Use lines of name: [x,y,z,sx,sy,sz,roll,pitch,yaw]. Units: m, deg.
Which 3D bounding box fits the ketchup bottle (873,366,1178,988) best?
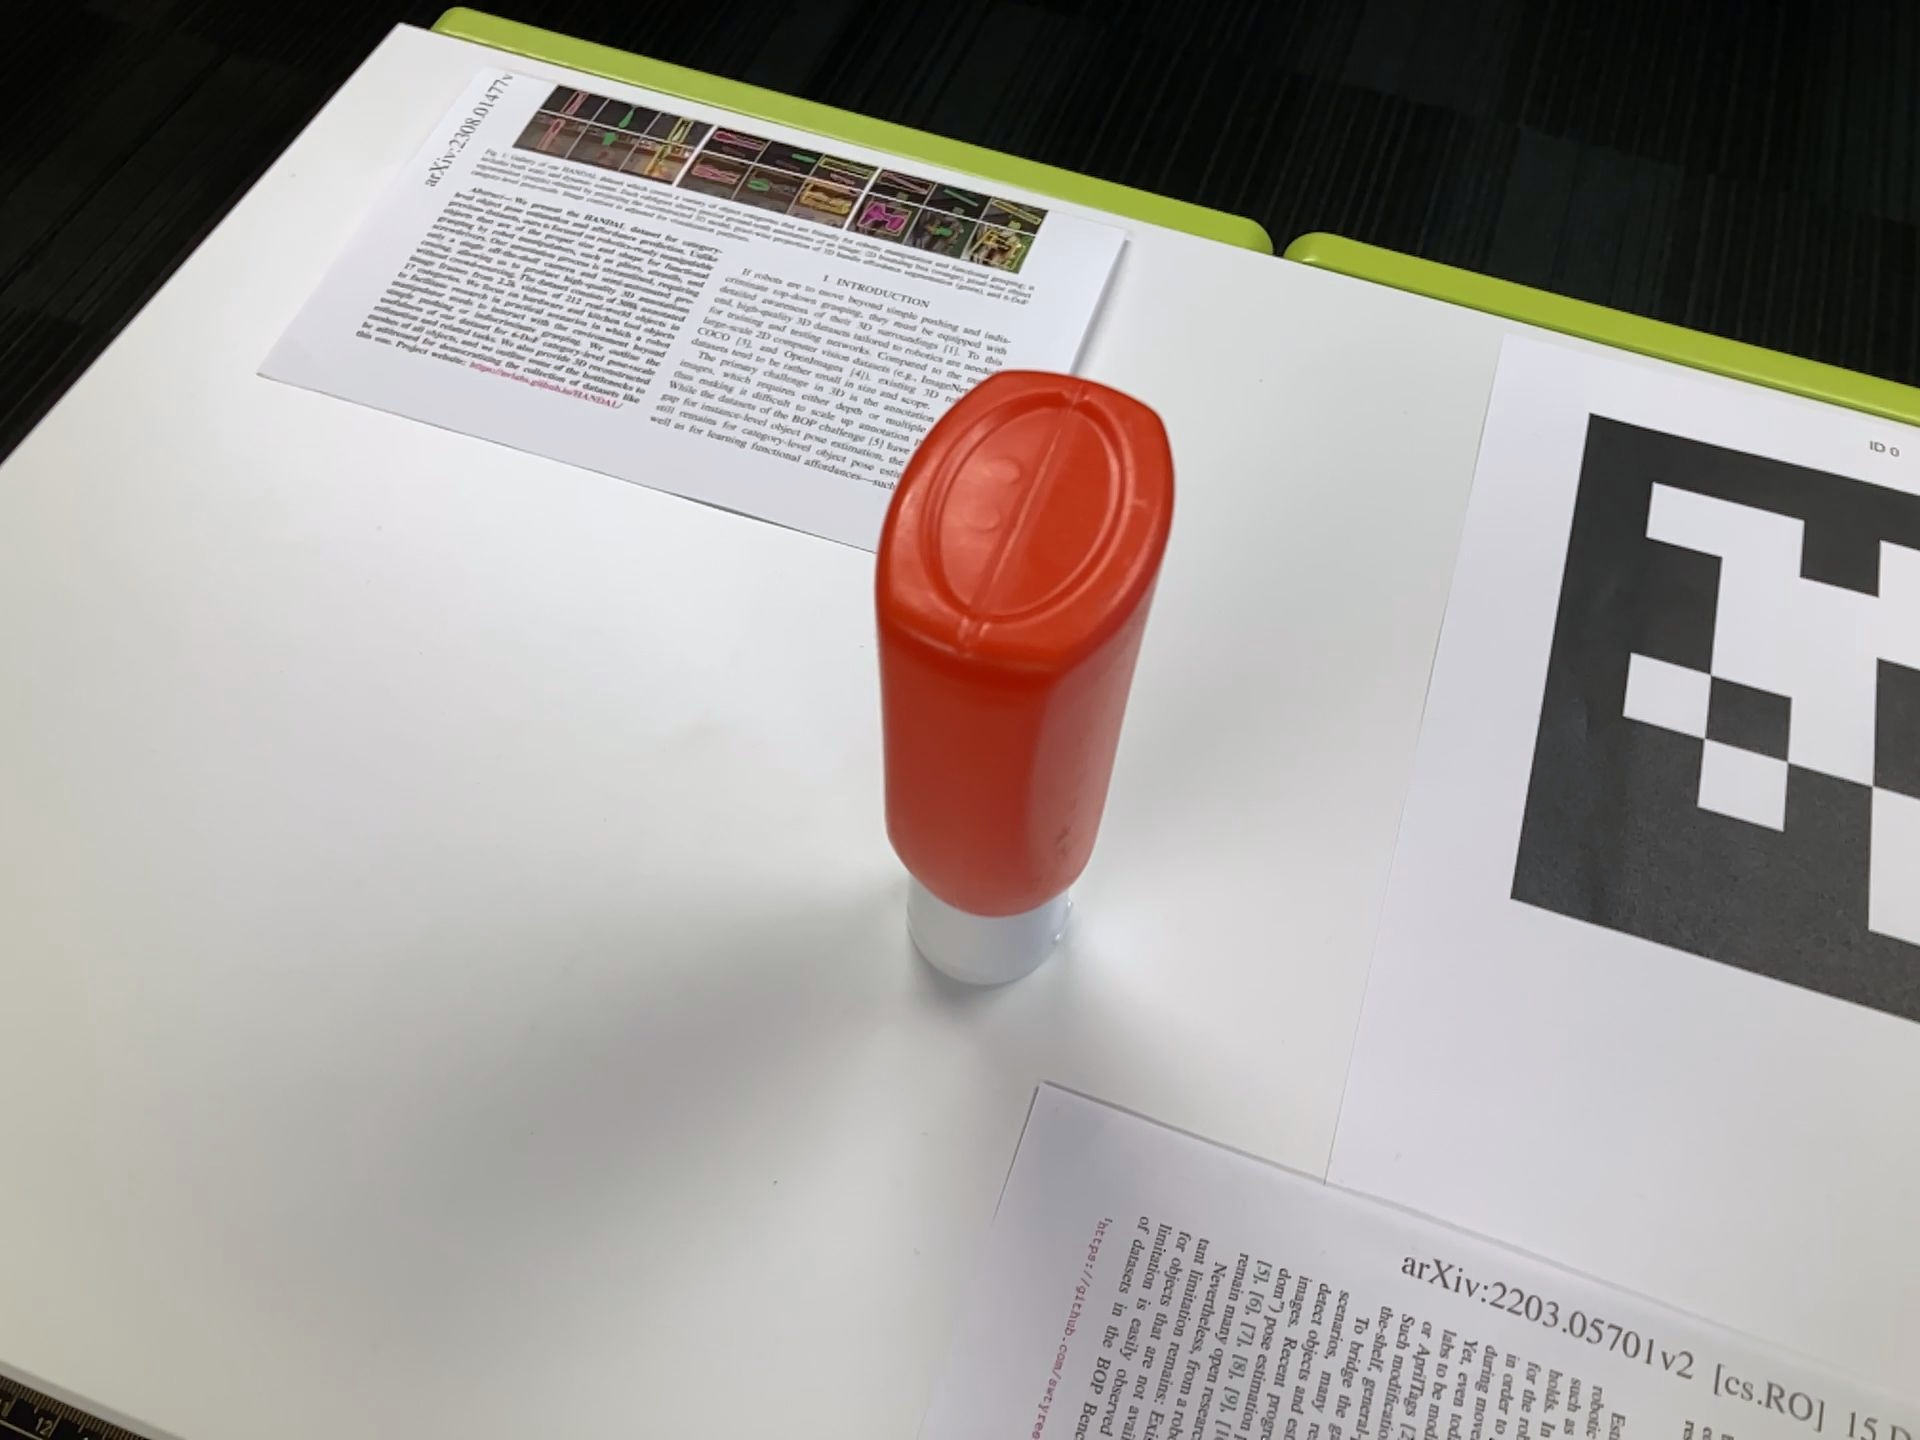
ketchup bottle: [0.009,0.006,0.303,0.043,0.149,0.065,18,59,9]
